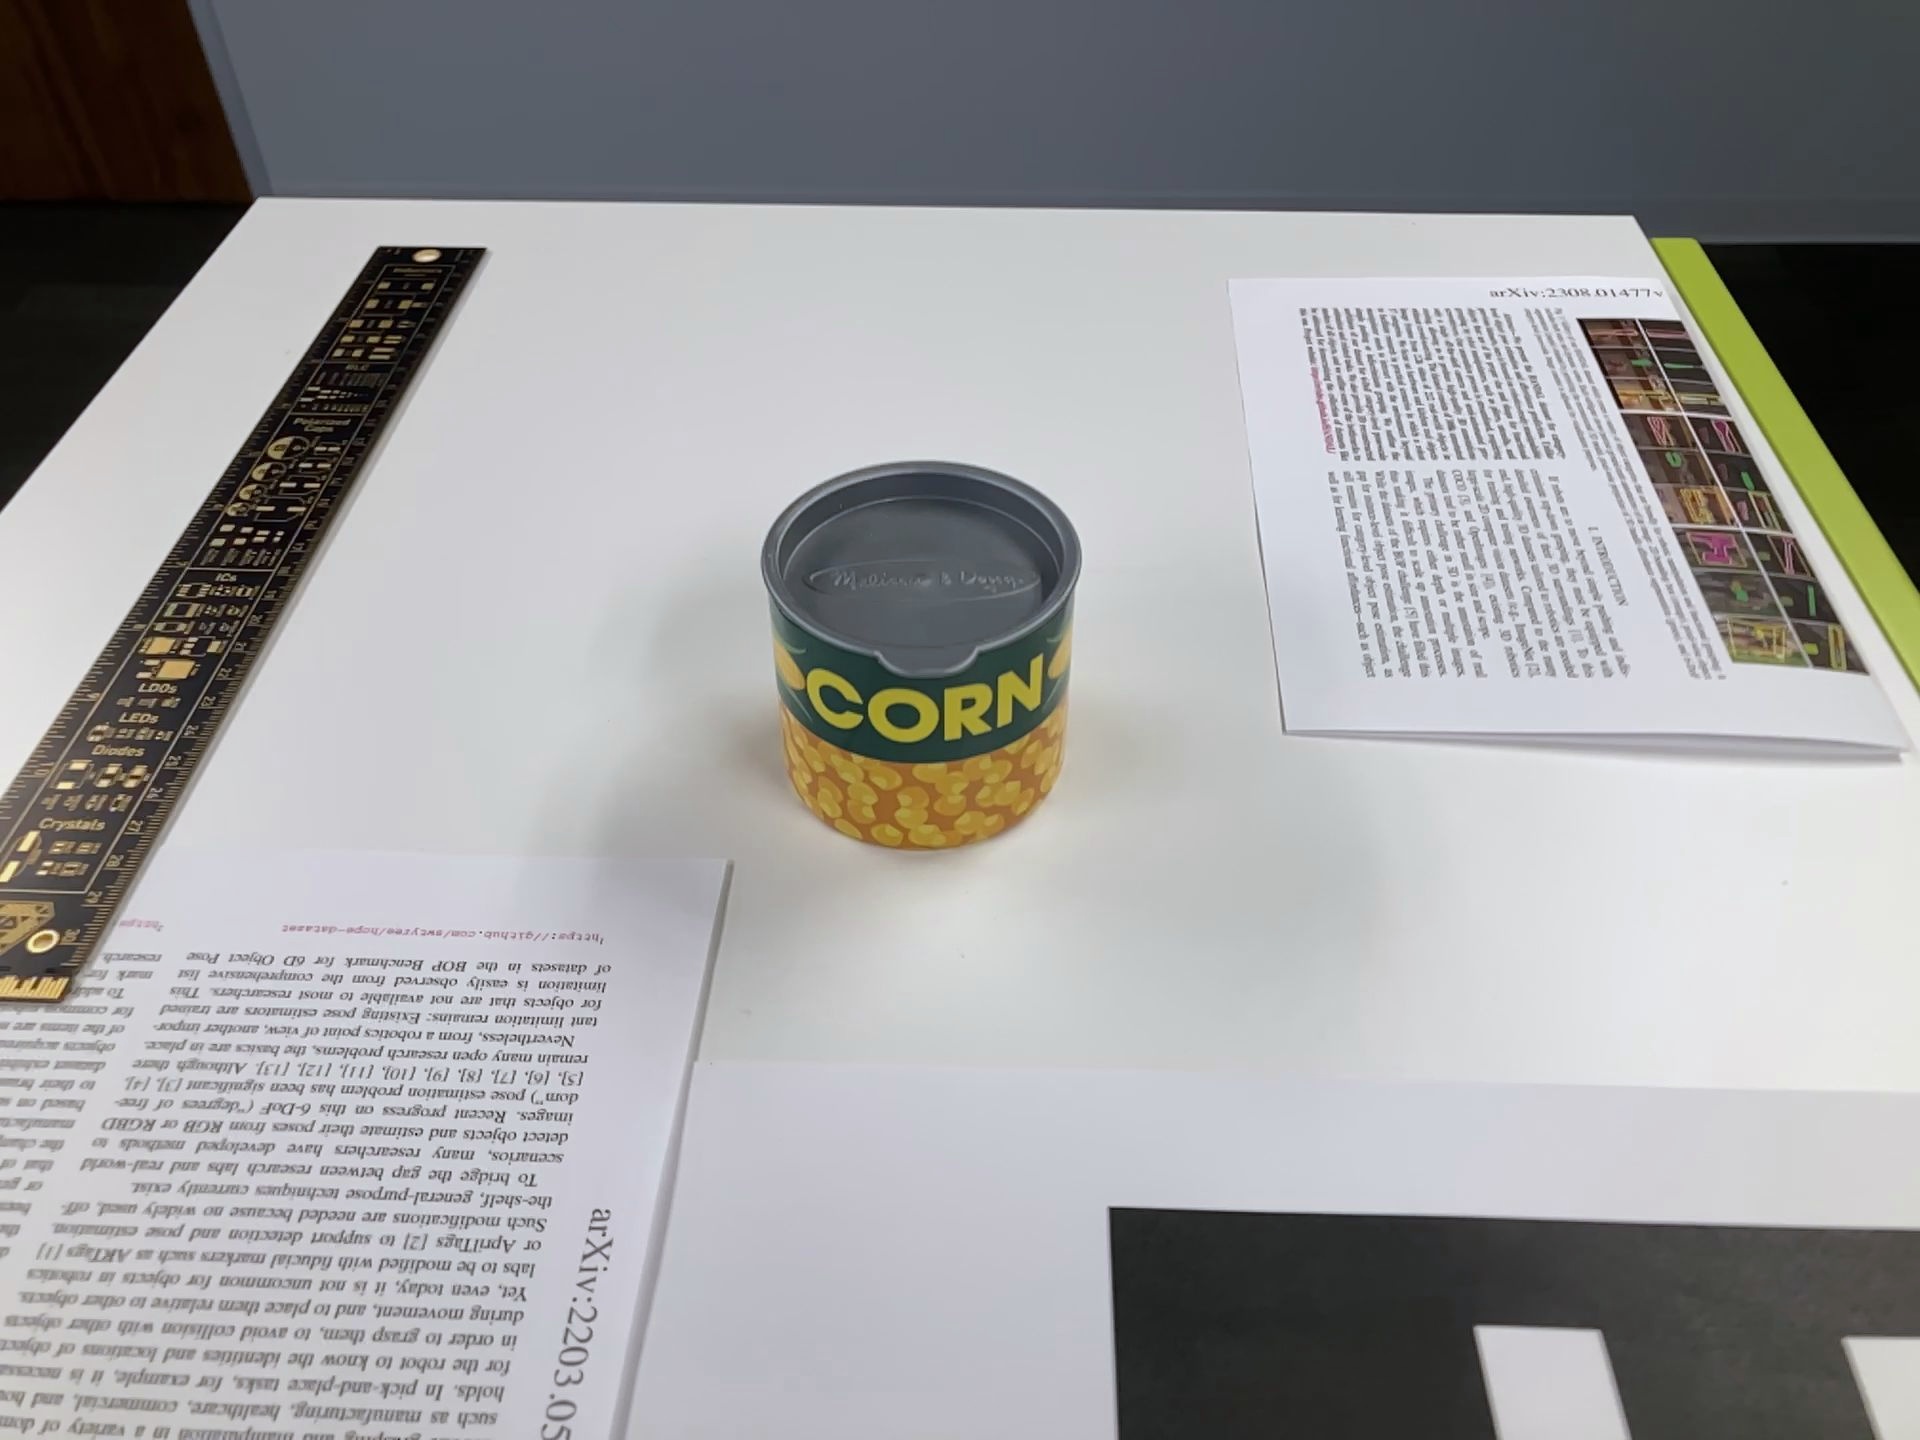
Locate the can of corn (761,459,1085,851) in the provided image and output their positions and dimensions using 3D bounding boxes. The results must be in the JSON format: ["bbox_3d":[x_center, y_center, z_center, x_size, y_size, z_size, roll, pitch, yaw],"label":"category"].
[{"bbox_3d":[-0.008,-0.012,0.343,0.071,0.058,0.071,0,43,0],"label":"can of corn"}]
